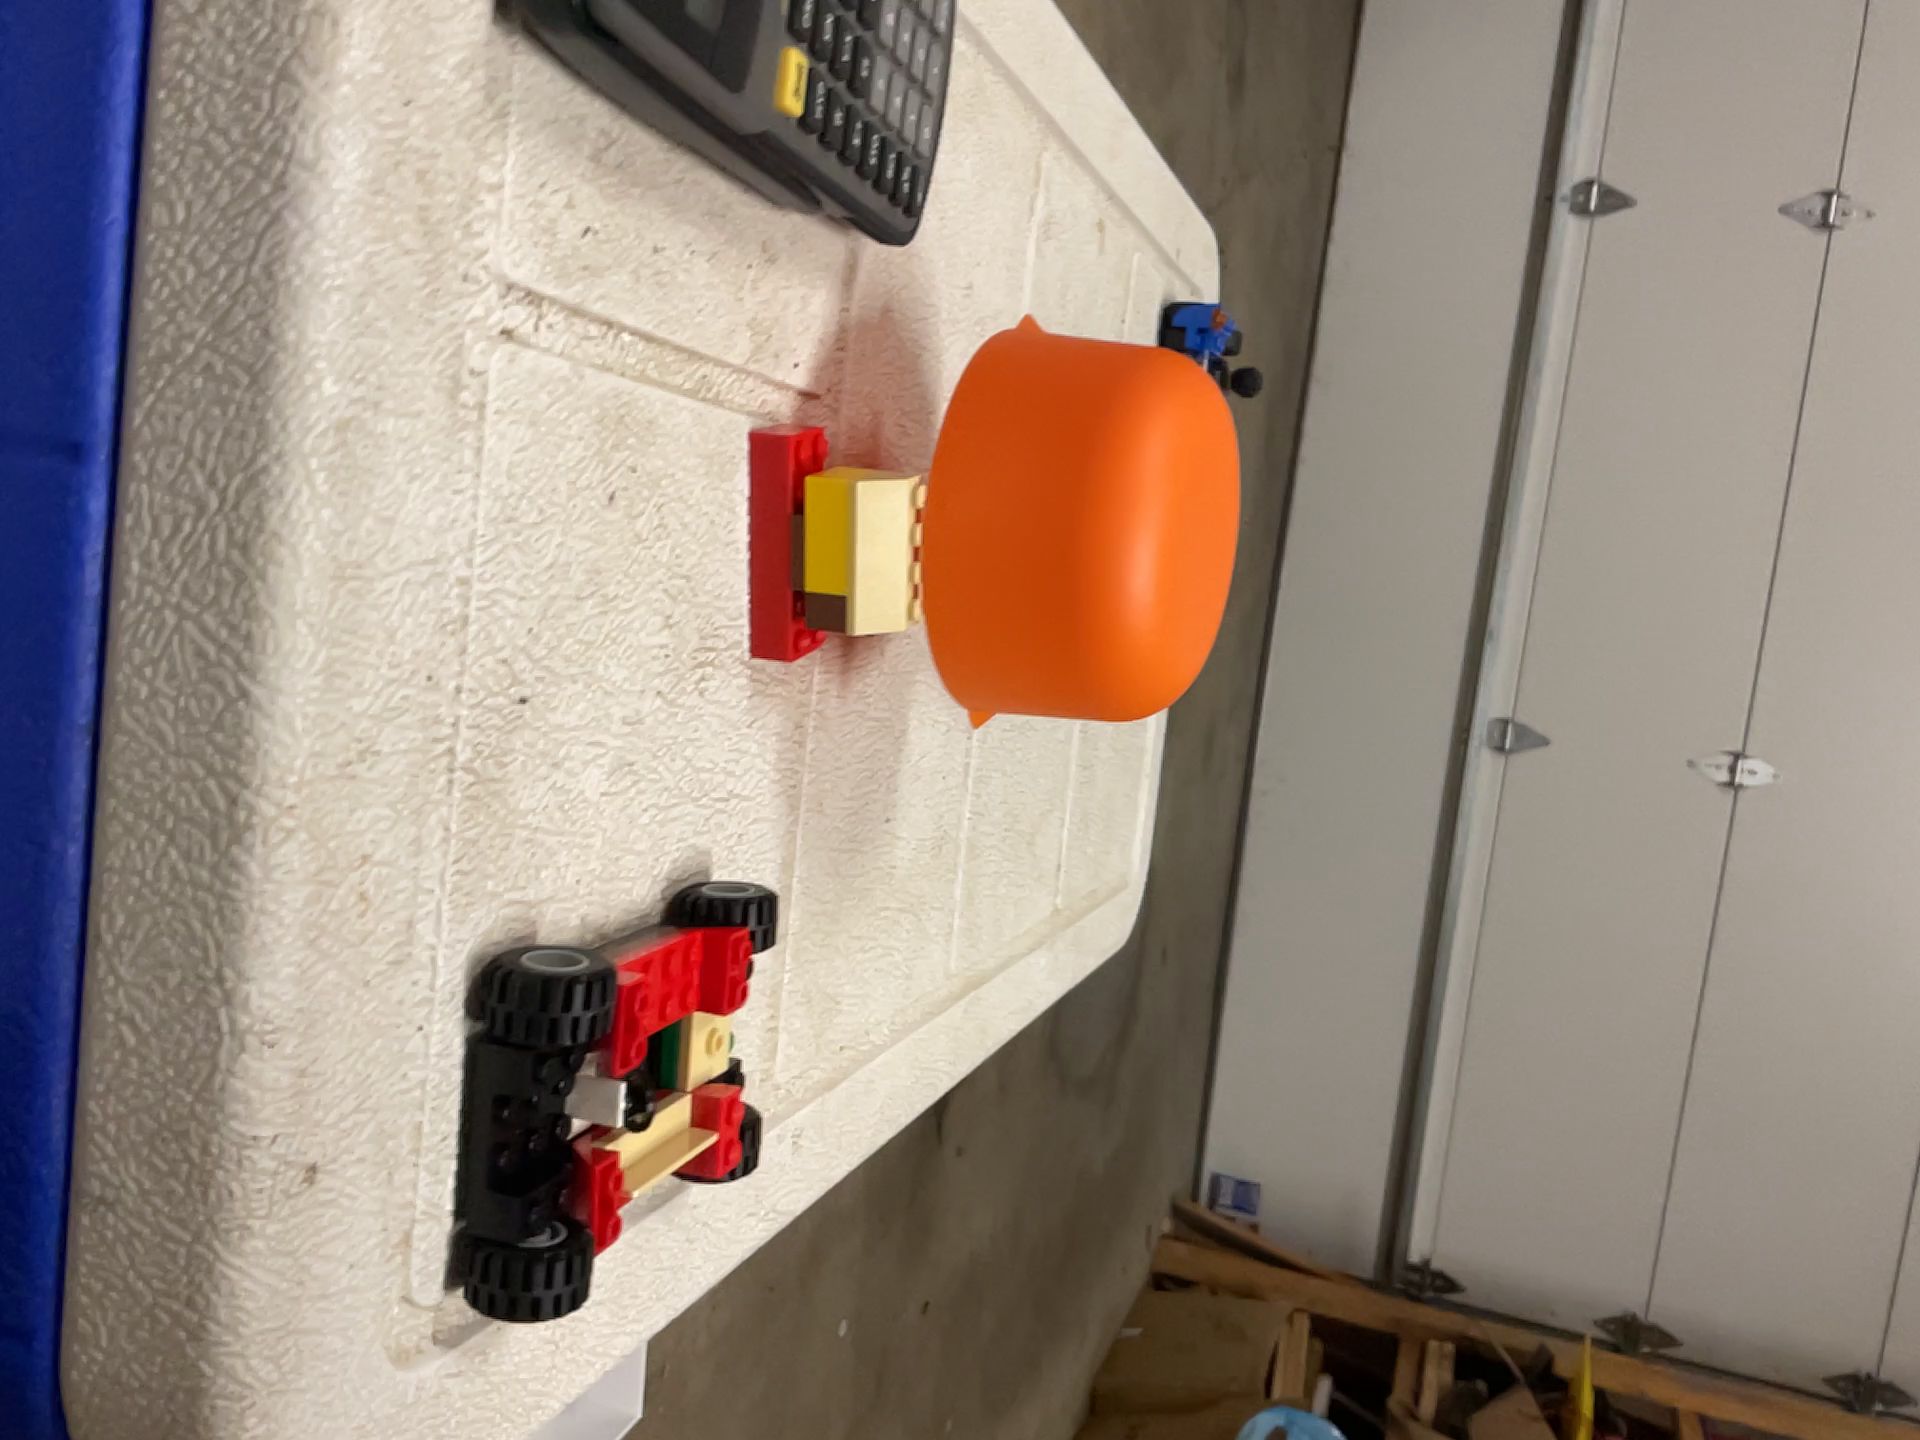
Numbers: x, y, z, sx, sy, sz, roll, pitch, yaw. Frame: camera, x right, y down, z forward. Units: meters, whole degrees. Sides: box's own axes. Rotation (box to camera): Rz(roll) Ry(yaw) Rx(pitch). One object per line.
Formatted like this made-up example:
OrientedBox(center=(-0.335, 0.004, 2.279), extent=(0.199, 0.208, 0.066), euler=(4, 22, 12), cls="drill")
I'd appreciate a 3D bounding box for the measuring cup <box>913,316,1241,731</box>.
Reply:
OrientedBox(center=(0.048, -0.041, 0.396), extent=(0.173, 0.052, 0.095), euler=(0, 98, -65), cls="measuring cup")
